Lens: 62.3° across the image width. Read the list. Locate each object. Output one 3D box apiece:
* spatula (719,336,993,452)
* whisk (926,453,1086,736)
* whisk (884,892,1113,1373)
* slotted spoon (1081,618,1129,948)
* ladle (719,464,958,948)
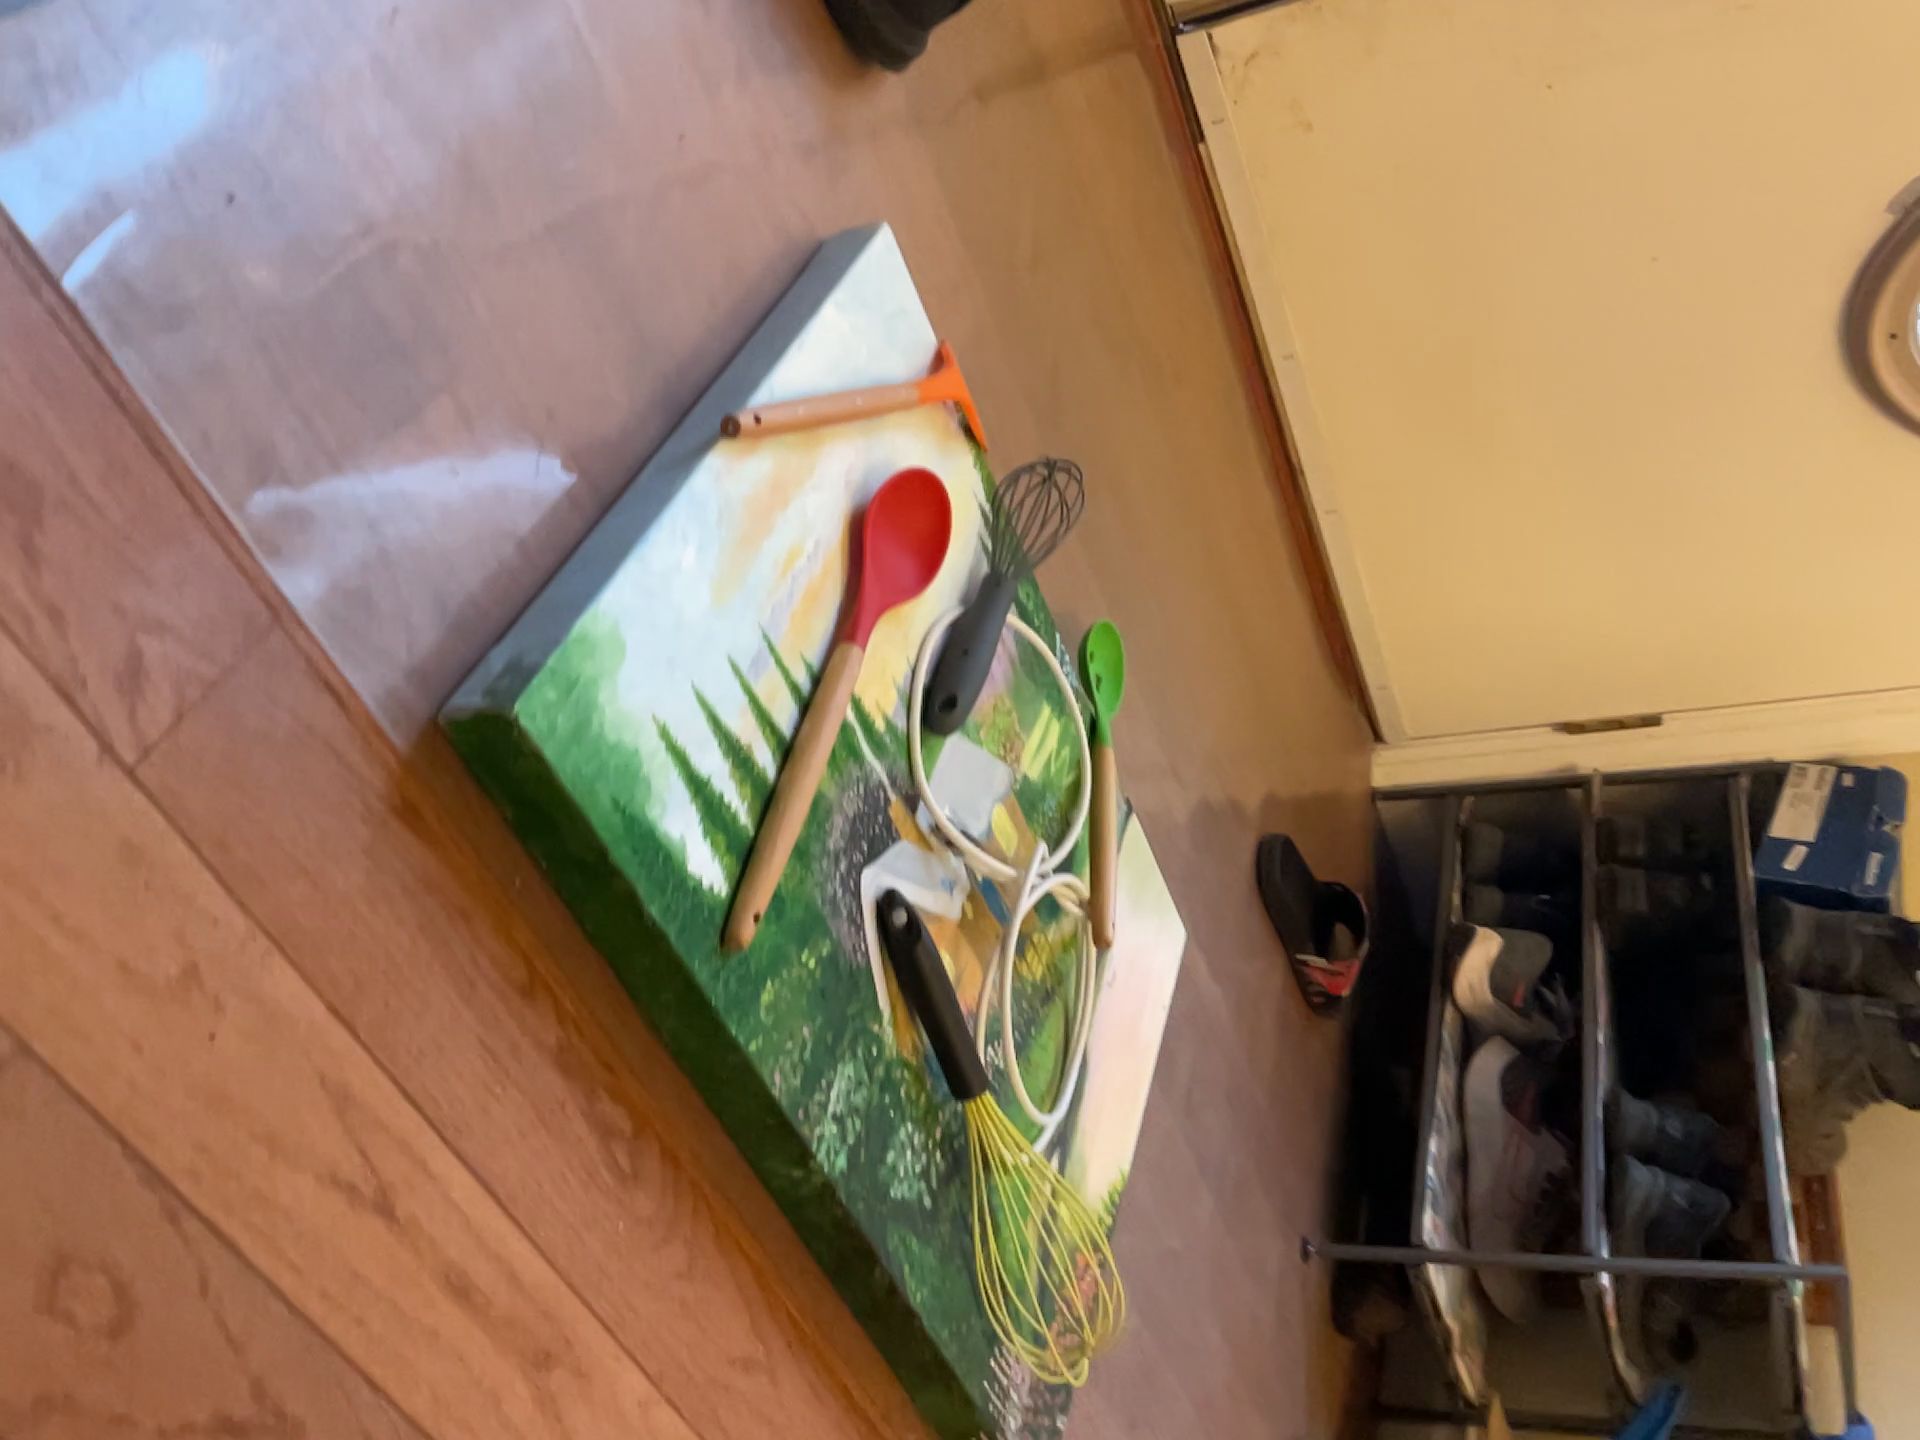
[{"bbox_3d":[-0.047,-0.179,0.902,0.322,0.041,0.081,-30,100,-59],"label":"spatula"},{"bbox_3d":[0.027,-0.082,0.984,0.055,0.055,0.239,50,47,-32],"label":"whisk"},{"bbox_3d":[0.016,0.234,0.887,0.311,0.067,0.080,69,24,-15],"label":"whisk"},{"bbox_3d":[0.099,0.037,1.104,0.314,0.031,0.070,-83,153,-50],"label":"slotted spoon"},{"bbox_3d":[-0.061,-0.017,0.815,0.069,0.031,0.316,58,39,-39],"label":"ladle"}]
